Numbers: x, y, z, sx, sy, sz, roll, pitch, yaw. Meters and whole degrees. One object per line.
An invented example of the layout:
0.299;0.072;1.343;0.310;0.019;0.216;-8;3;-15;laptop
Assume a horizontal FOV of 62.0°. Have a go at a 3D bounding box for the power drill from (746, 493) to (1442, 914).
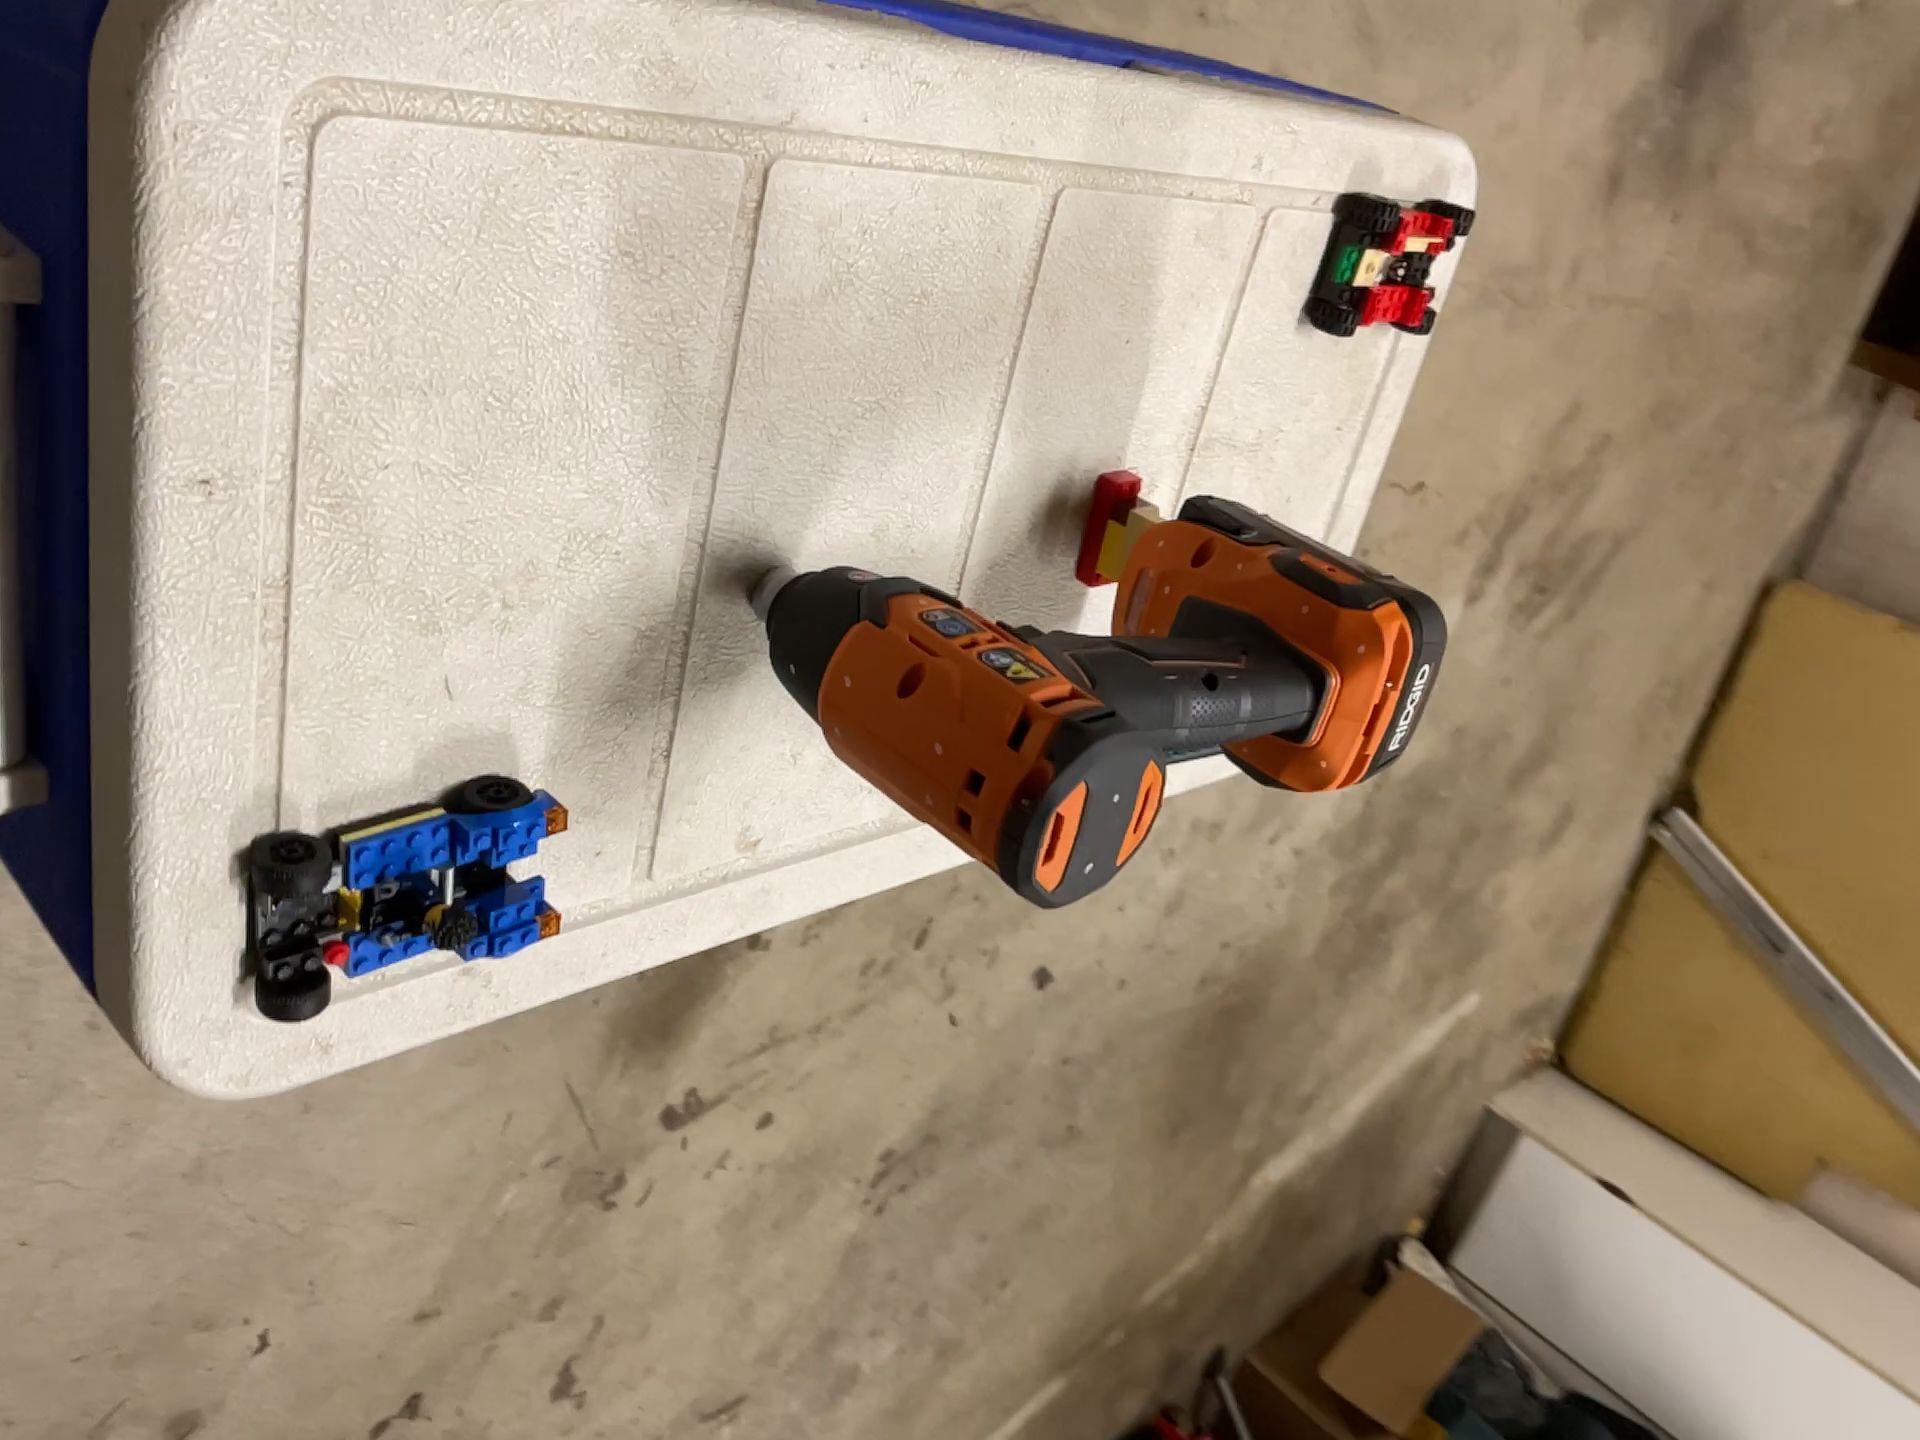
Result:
0.045;-0.022;0.554;0.226;0.164;0.084;-14;129;-43;power drill
